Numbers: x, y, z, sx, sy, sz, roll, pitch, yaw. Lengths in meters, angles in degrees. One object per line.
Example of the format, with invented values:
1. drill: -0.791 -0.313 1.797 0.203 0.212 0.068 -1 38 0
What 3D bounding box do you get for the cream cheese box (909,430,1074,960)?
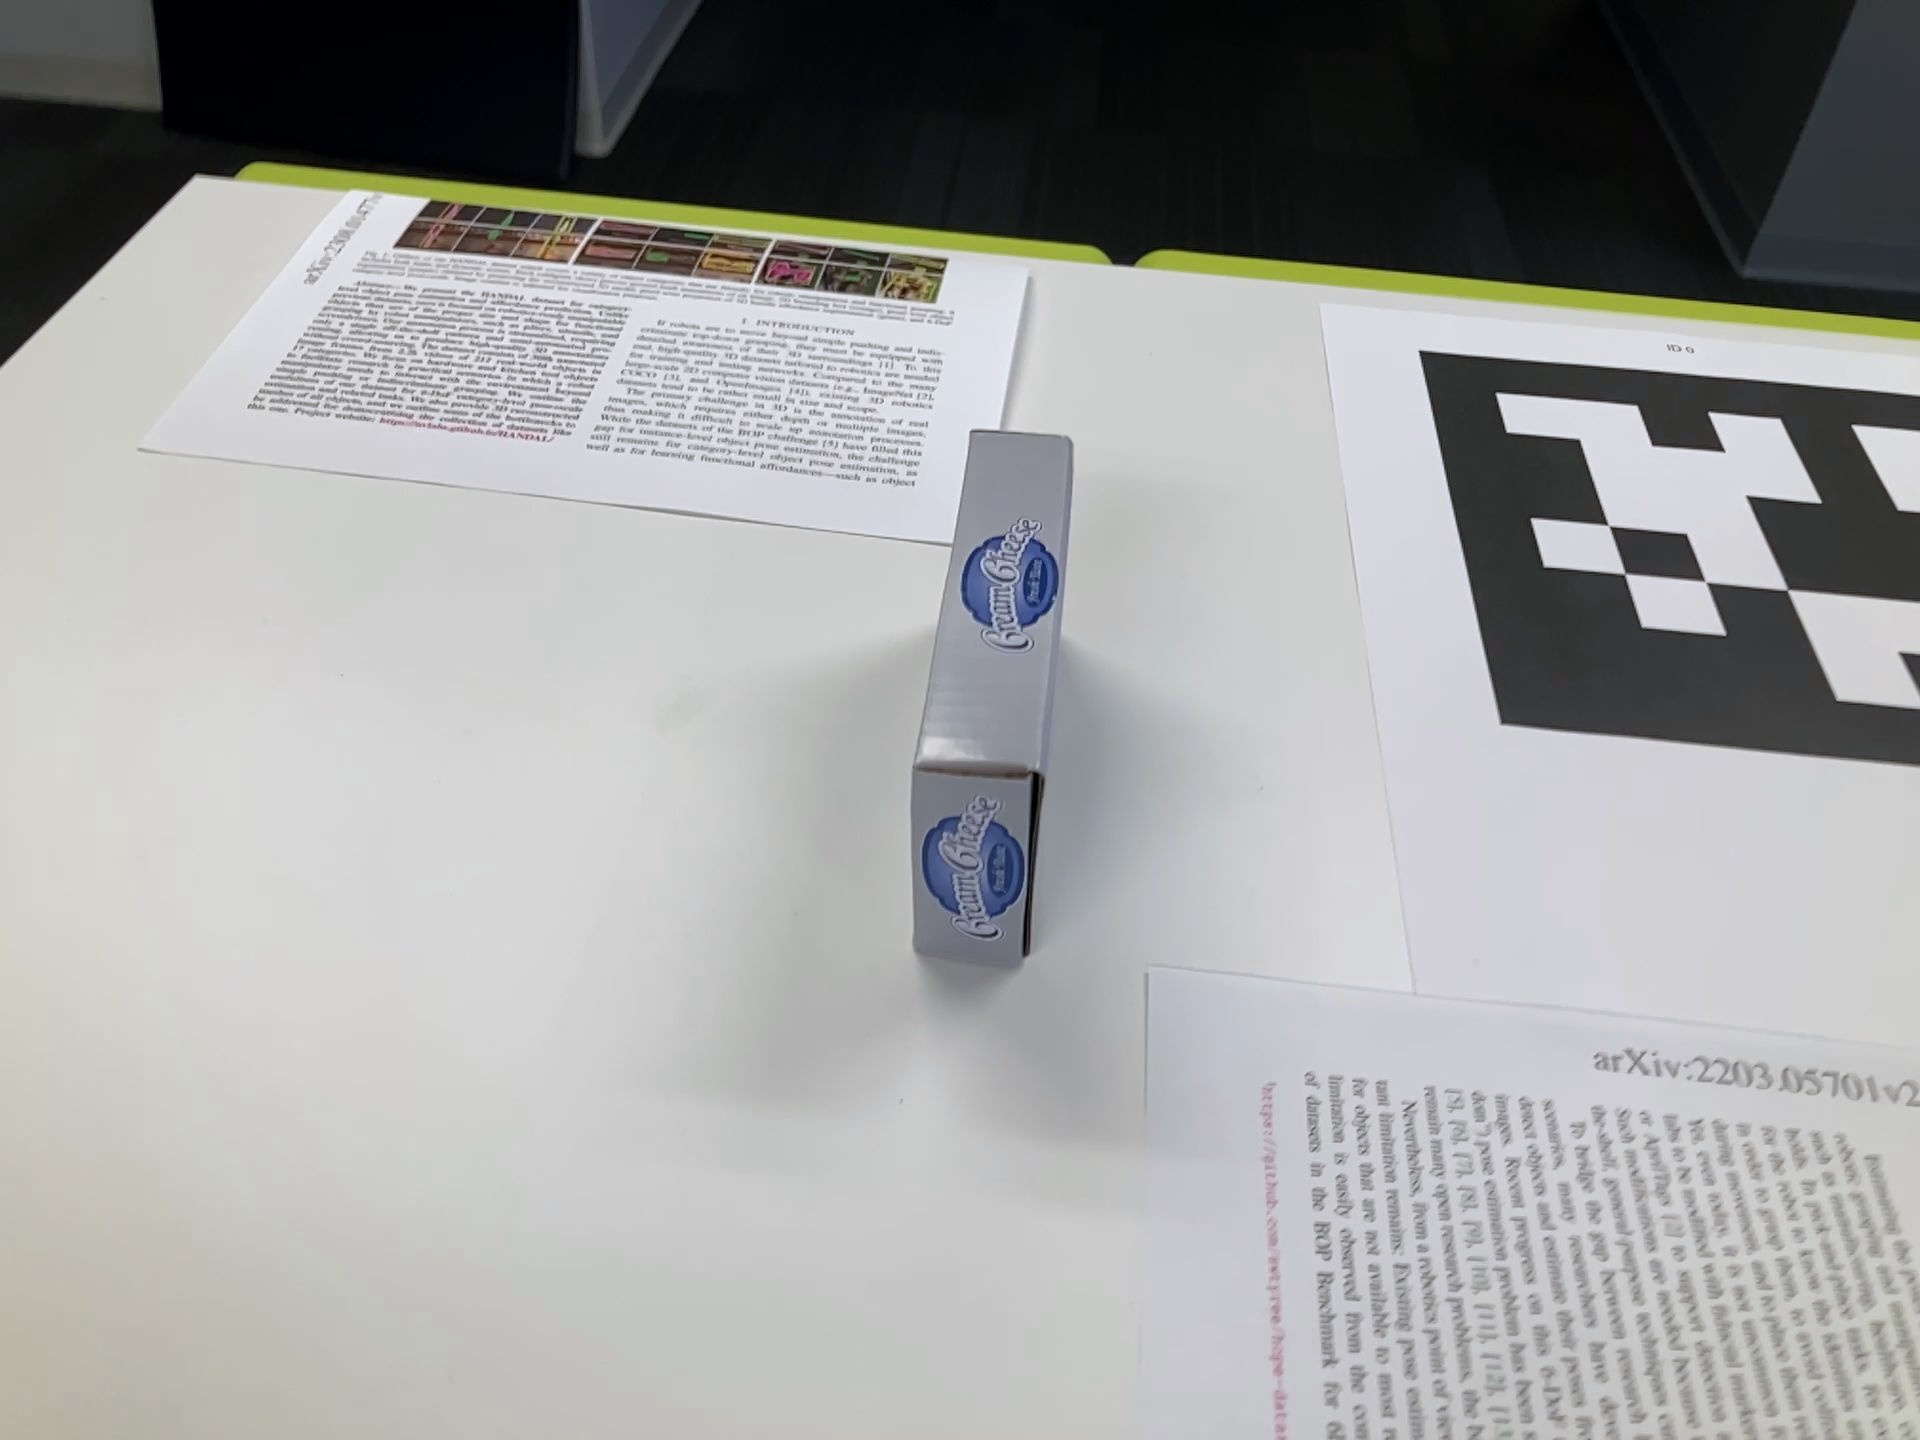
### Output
1. cream cheese box: 0.007 -0.008 0.323 0.024 0.053 0.104 5 44 4
